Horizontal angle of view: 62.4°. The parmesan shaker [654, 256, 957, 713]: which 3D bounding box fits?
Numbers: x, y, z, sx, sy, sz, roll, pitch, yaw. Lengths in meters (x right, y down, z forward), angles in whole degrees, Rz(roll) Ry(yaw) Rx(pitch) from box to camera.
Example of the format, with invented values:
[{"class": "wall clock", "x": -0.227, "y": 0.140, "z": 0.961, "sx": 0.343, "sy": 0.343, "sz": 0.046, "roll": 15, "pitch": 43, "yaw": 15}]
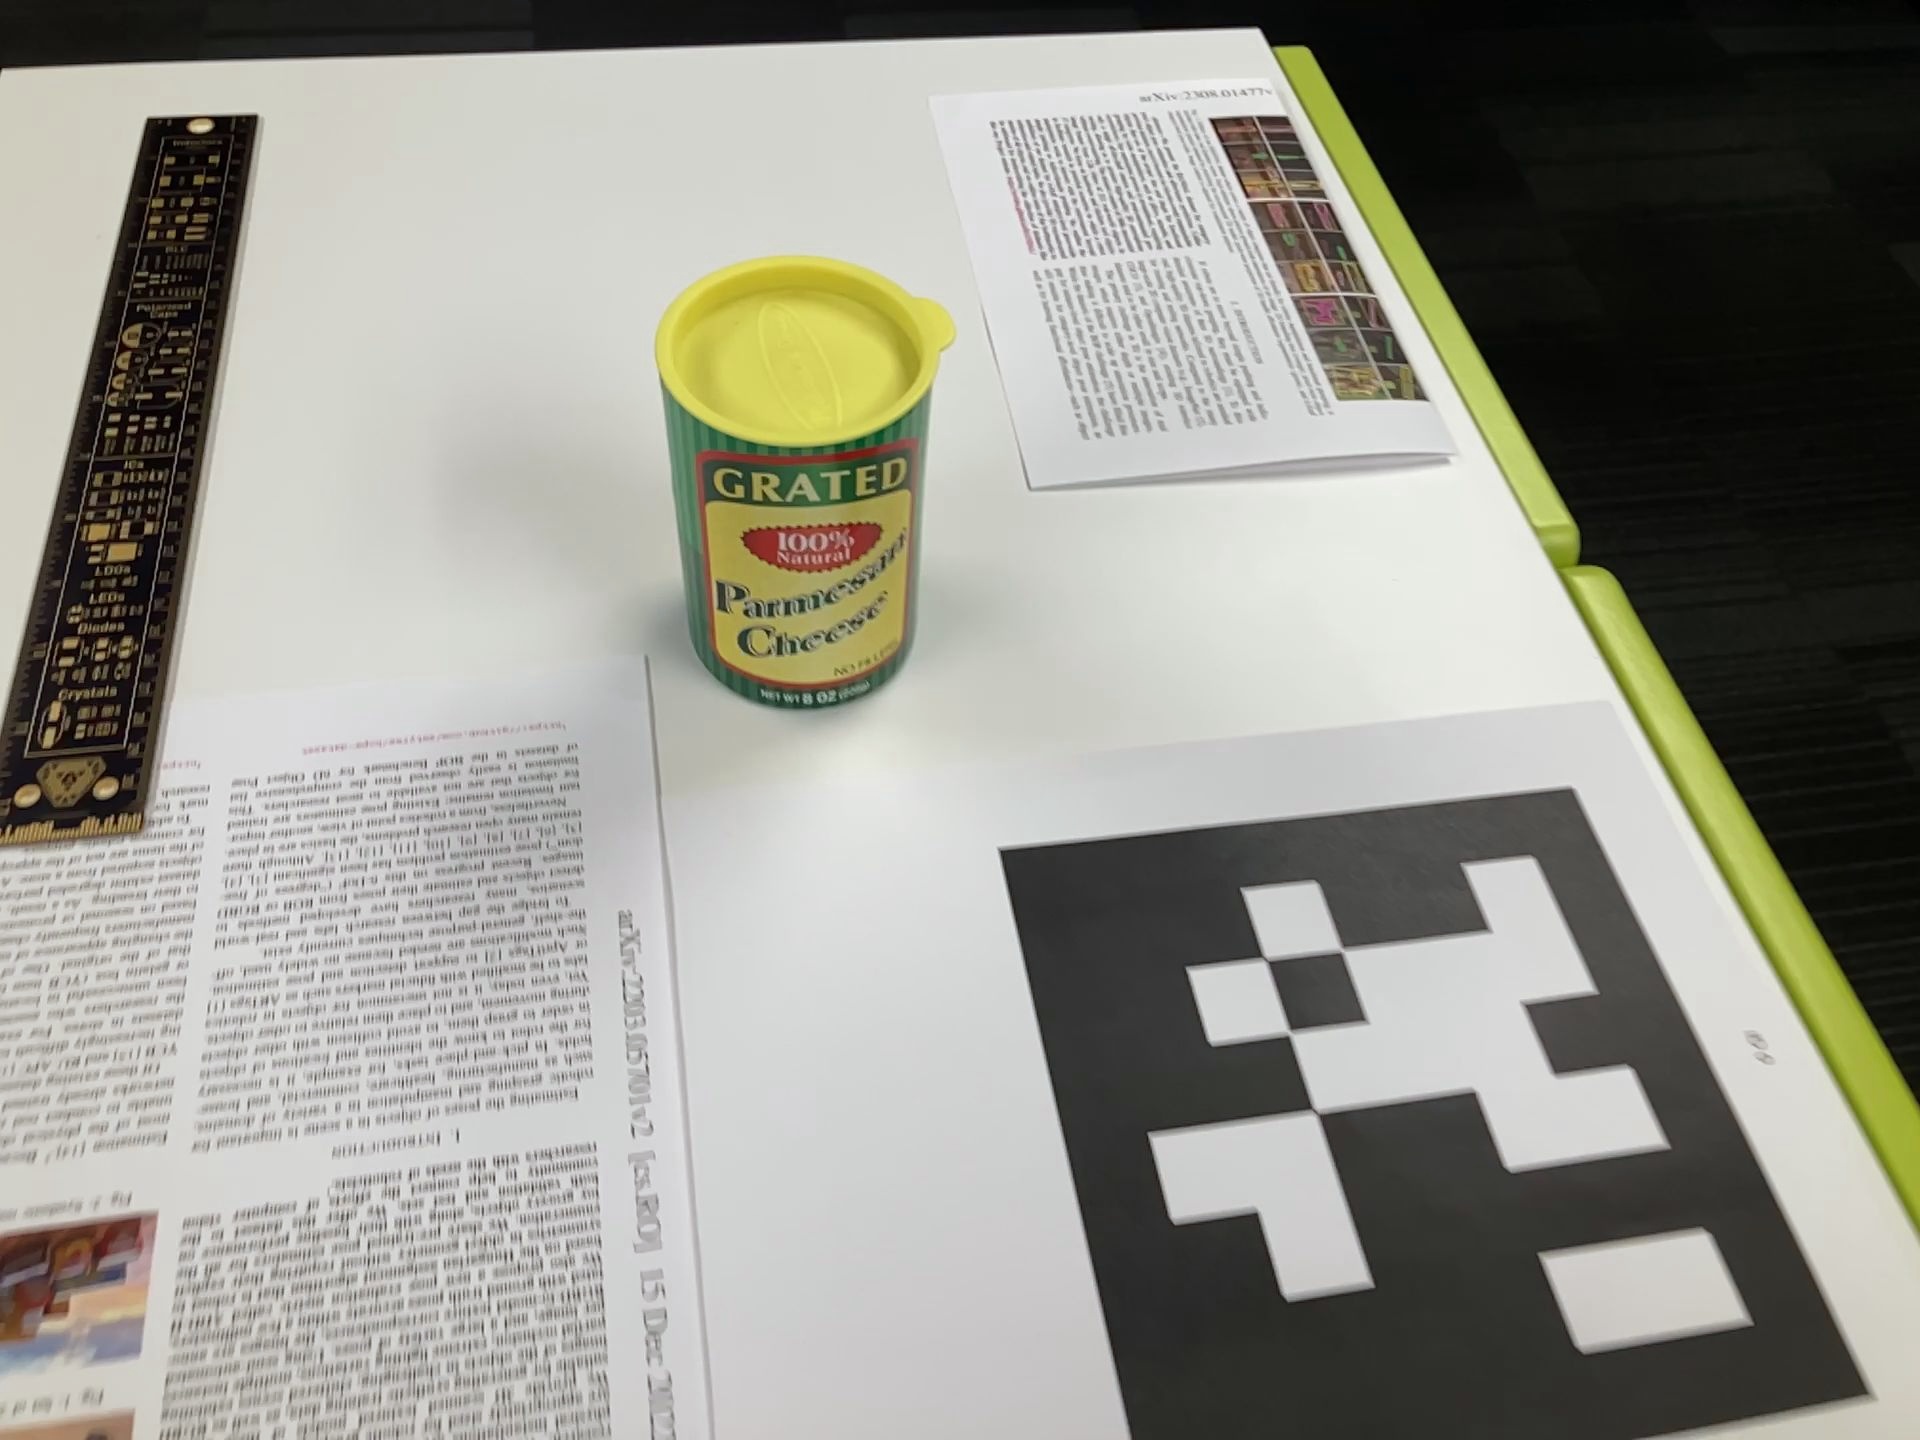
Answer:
[{"class": "parmesan shaker", "x": -0.039, "y": -0.058, "z": 0.412, "sx": 0.071, "sy": 0.103, "sz": 0.071, "roll": 2, "pitch": 53, "yaw": -3}]
